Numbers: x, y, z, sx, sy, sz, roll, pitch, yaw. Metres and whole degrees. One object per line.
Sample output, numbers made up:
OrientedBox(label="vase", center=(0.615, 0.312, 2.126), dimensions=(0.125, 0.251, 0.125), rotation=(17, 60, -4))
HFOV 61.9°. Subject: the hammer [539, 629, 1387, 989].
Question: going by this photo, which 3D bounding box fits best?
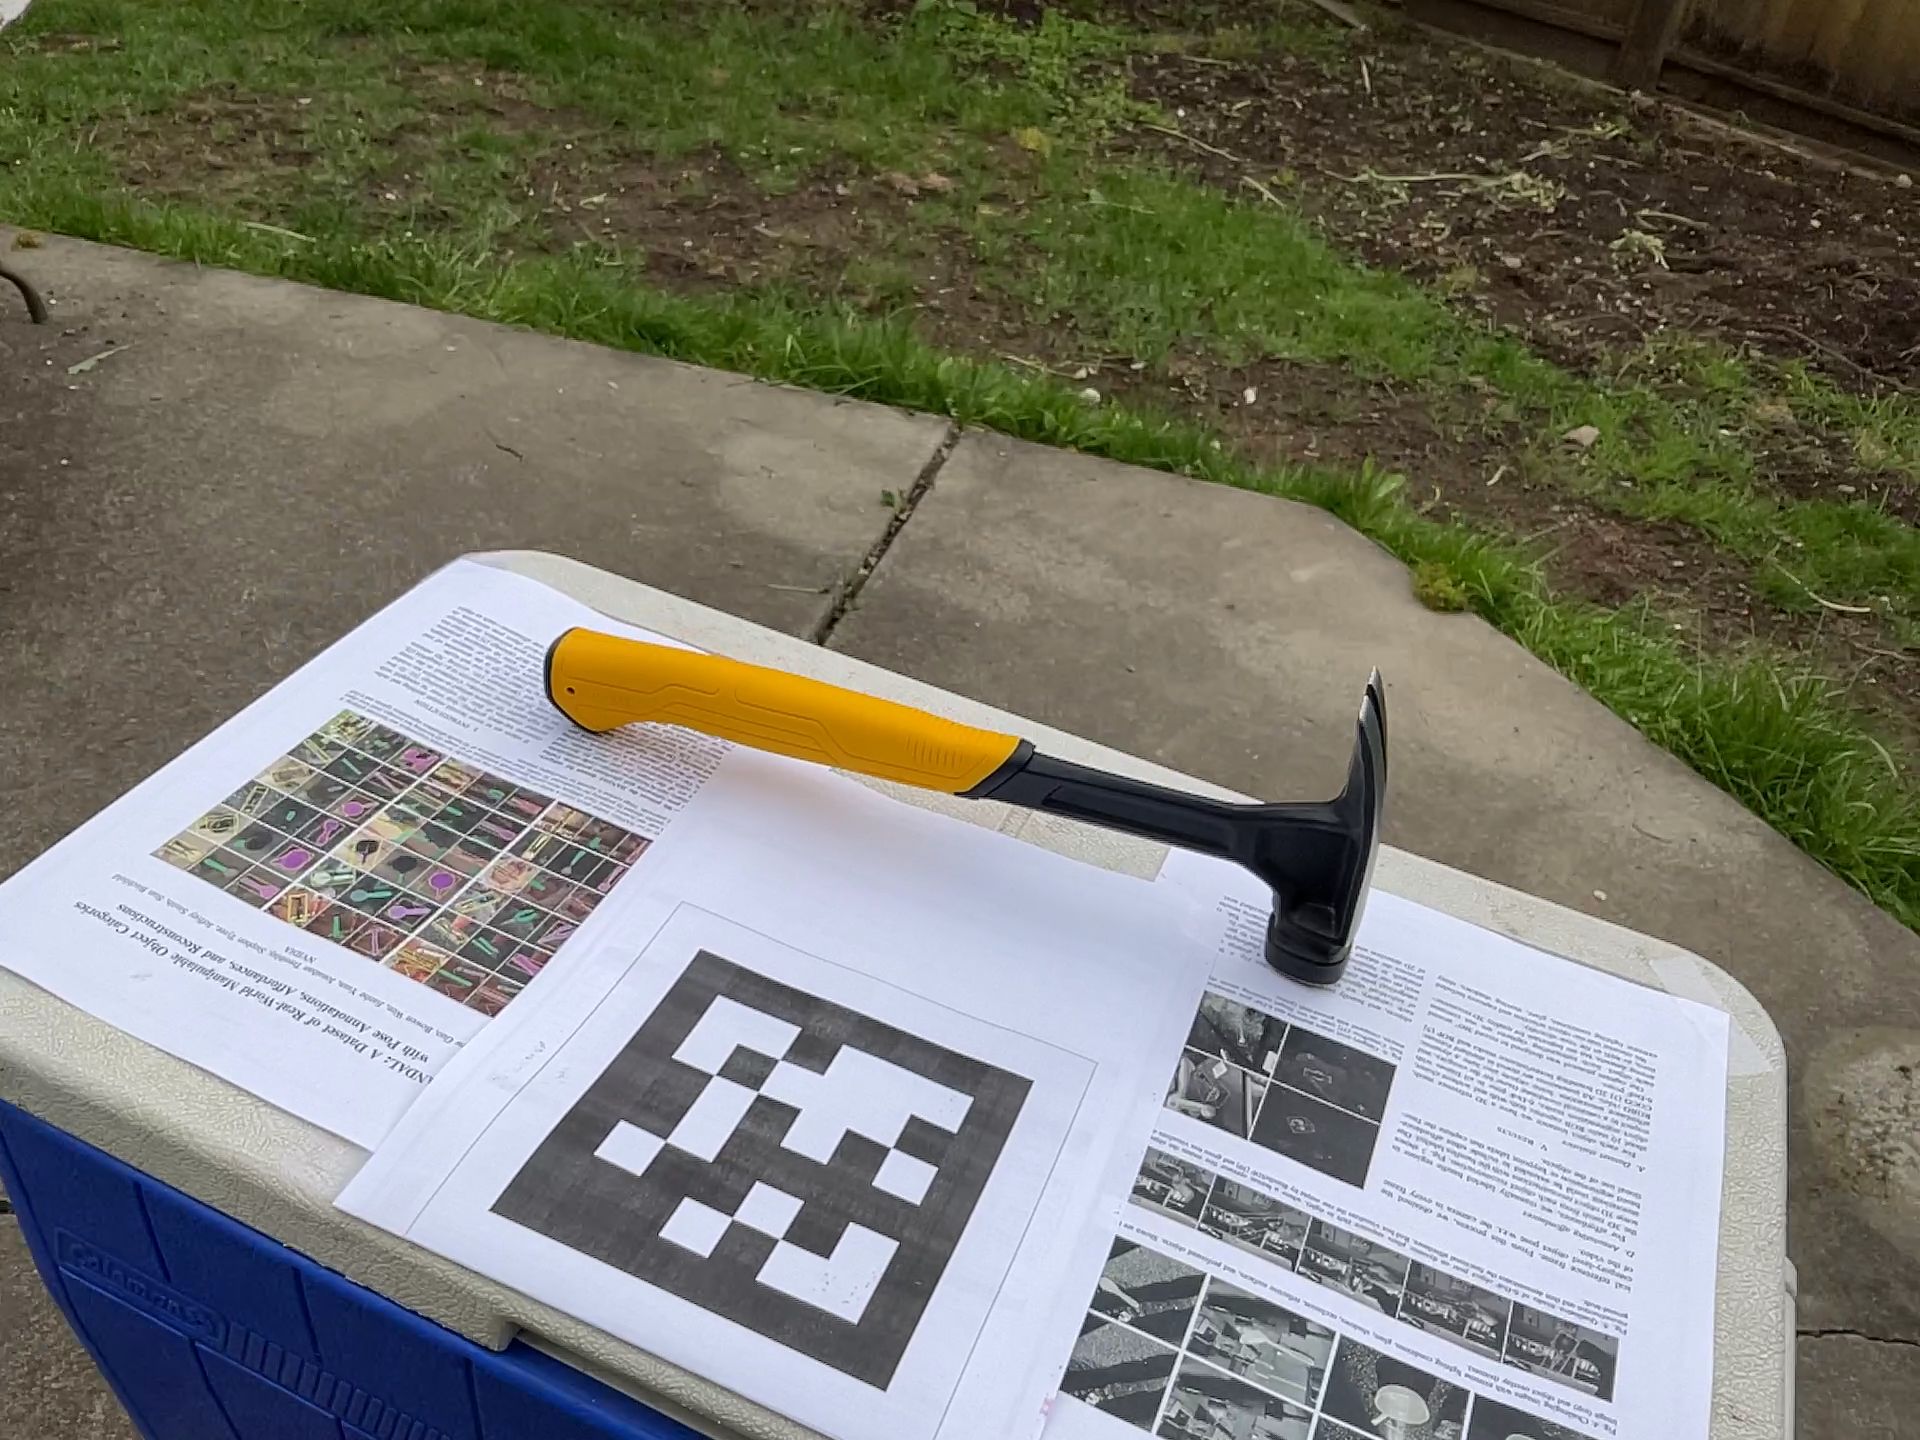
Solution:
OrientedBox(label="hammer", center=(-0.010, 0.008, 0.611), dimensions=(0.337, 0.127, 0.034), rotation=(13, 37, 16))
